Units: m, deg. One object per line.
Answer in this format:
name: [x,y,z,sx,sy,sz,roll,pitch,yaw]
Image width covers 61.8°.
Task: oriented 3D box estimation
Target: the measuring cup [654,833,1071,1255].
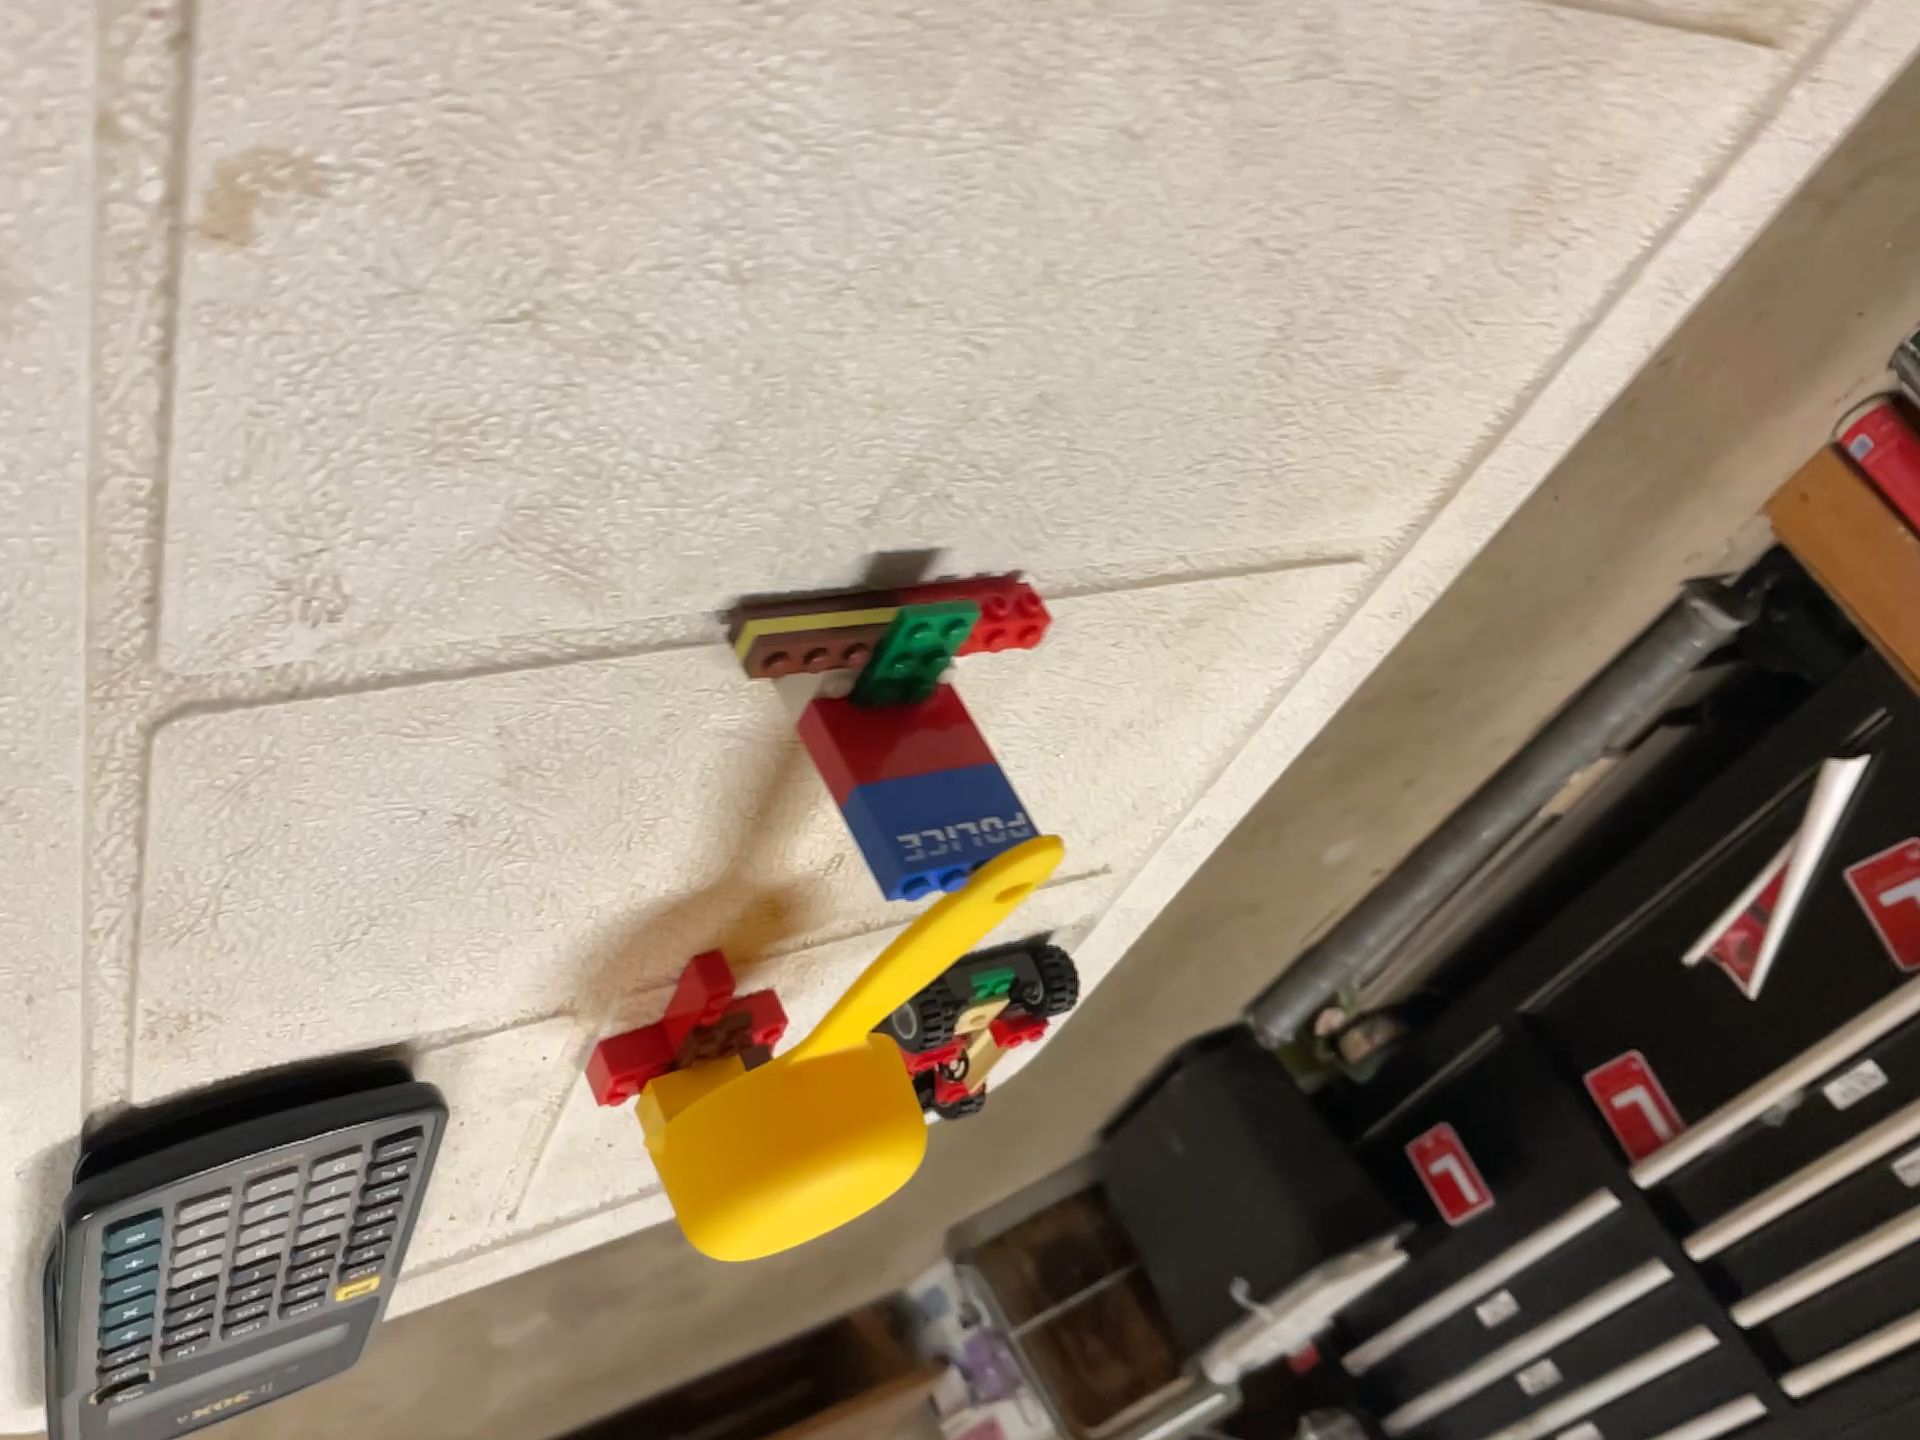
measuring cup: [-0.014,0.071,0.325,0.062,0.029,0.156,-9,153,-36]
